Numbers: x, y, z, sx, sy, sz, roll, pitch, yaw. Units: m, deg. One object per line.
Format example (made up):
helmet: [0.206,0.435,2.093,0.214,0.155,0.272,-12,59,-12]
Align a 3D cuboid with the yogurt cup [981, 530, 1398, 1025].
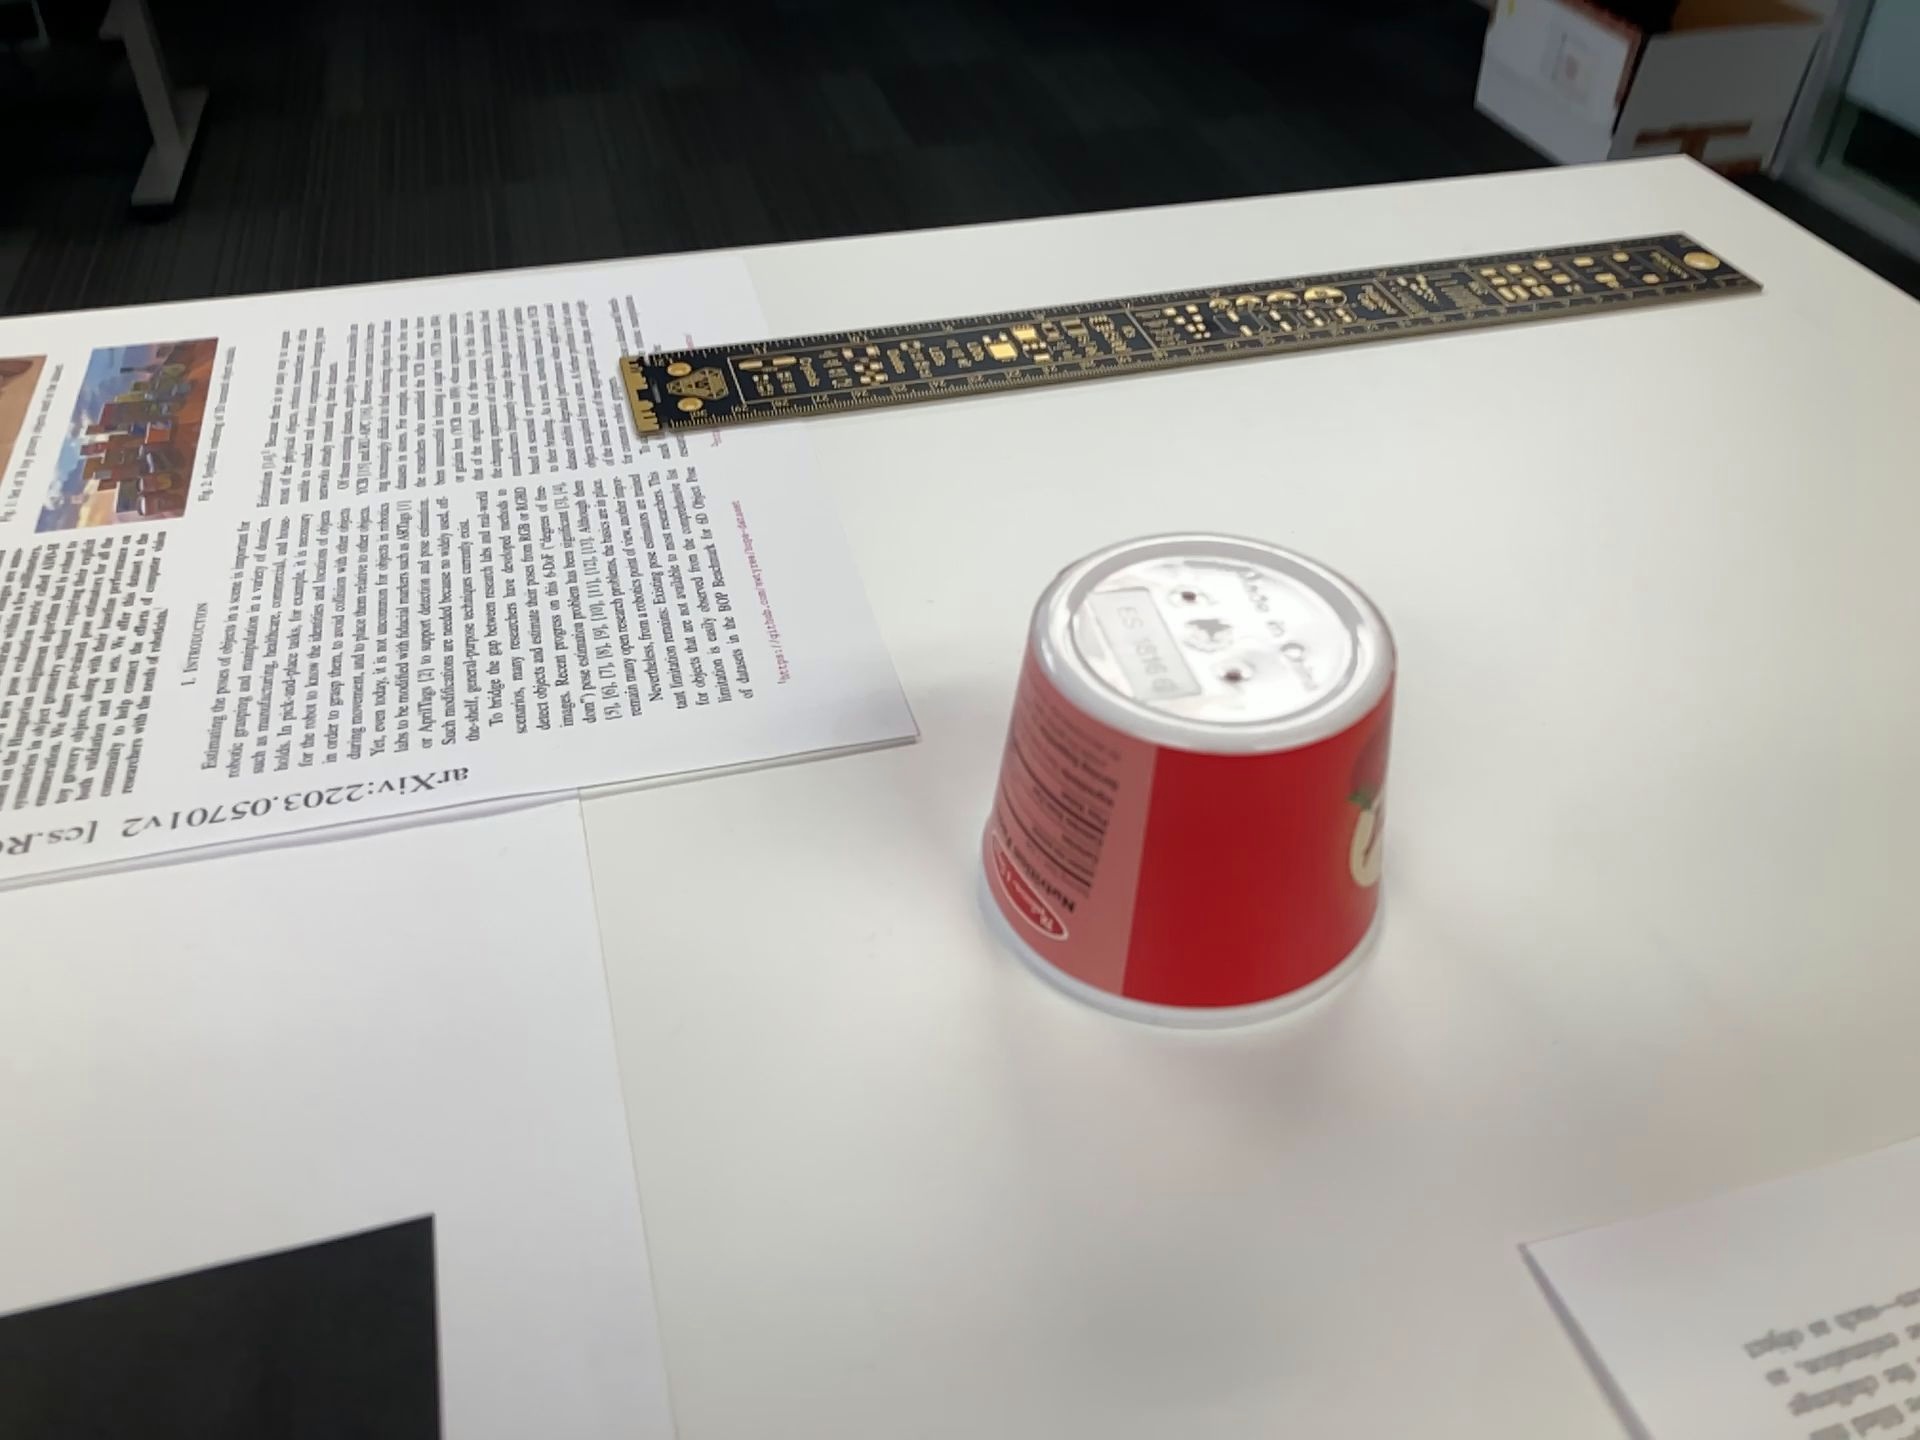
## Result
yogurt cup: [0.038,0.006,0.255,0.072,0.054,0.072,1,42,-1]
